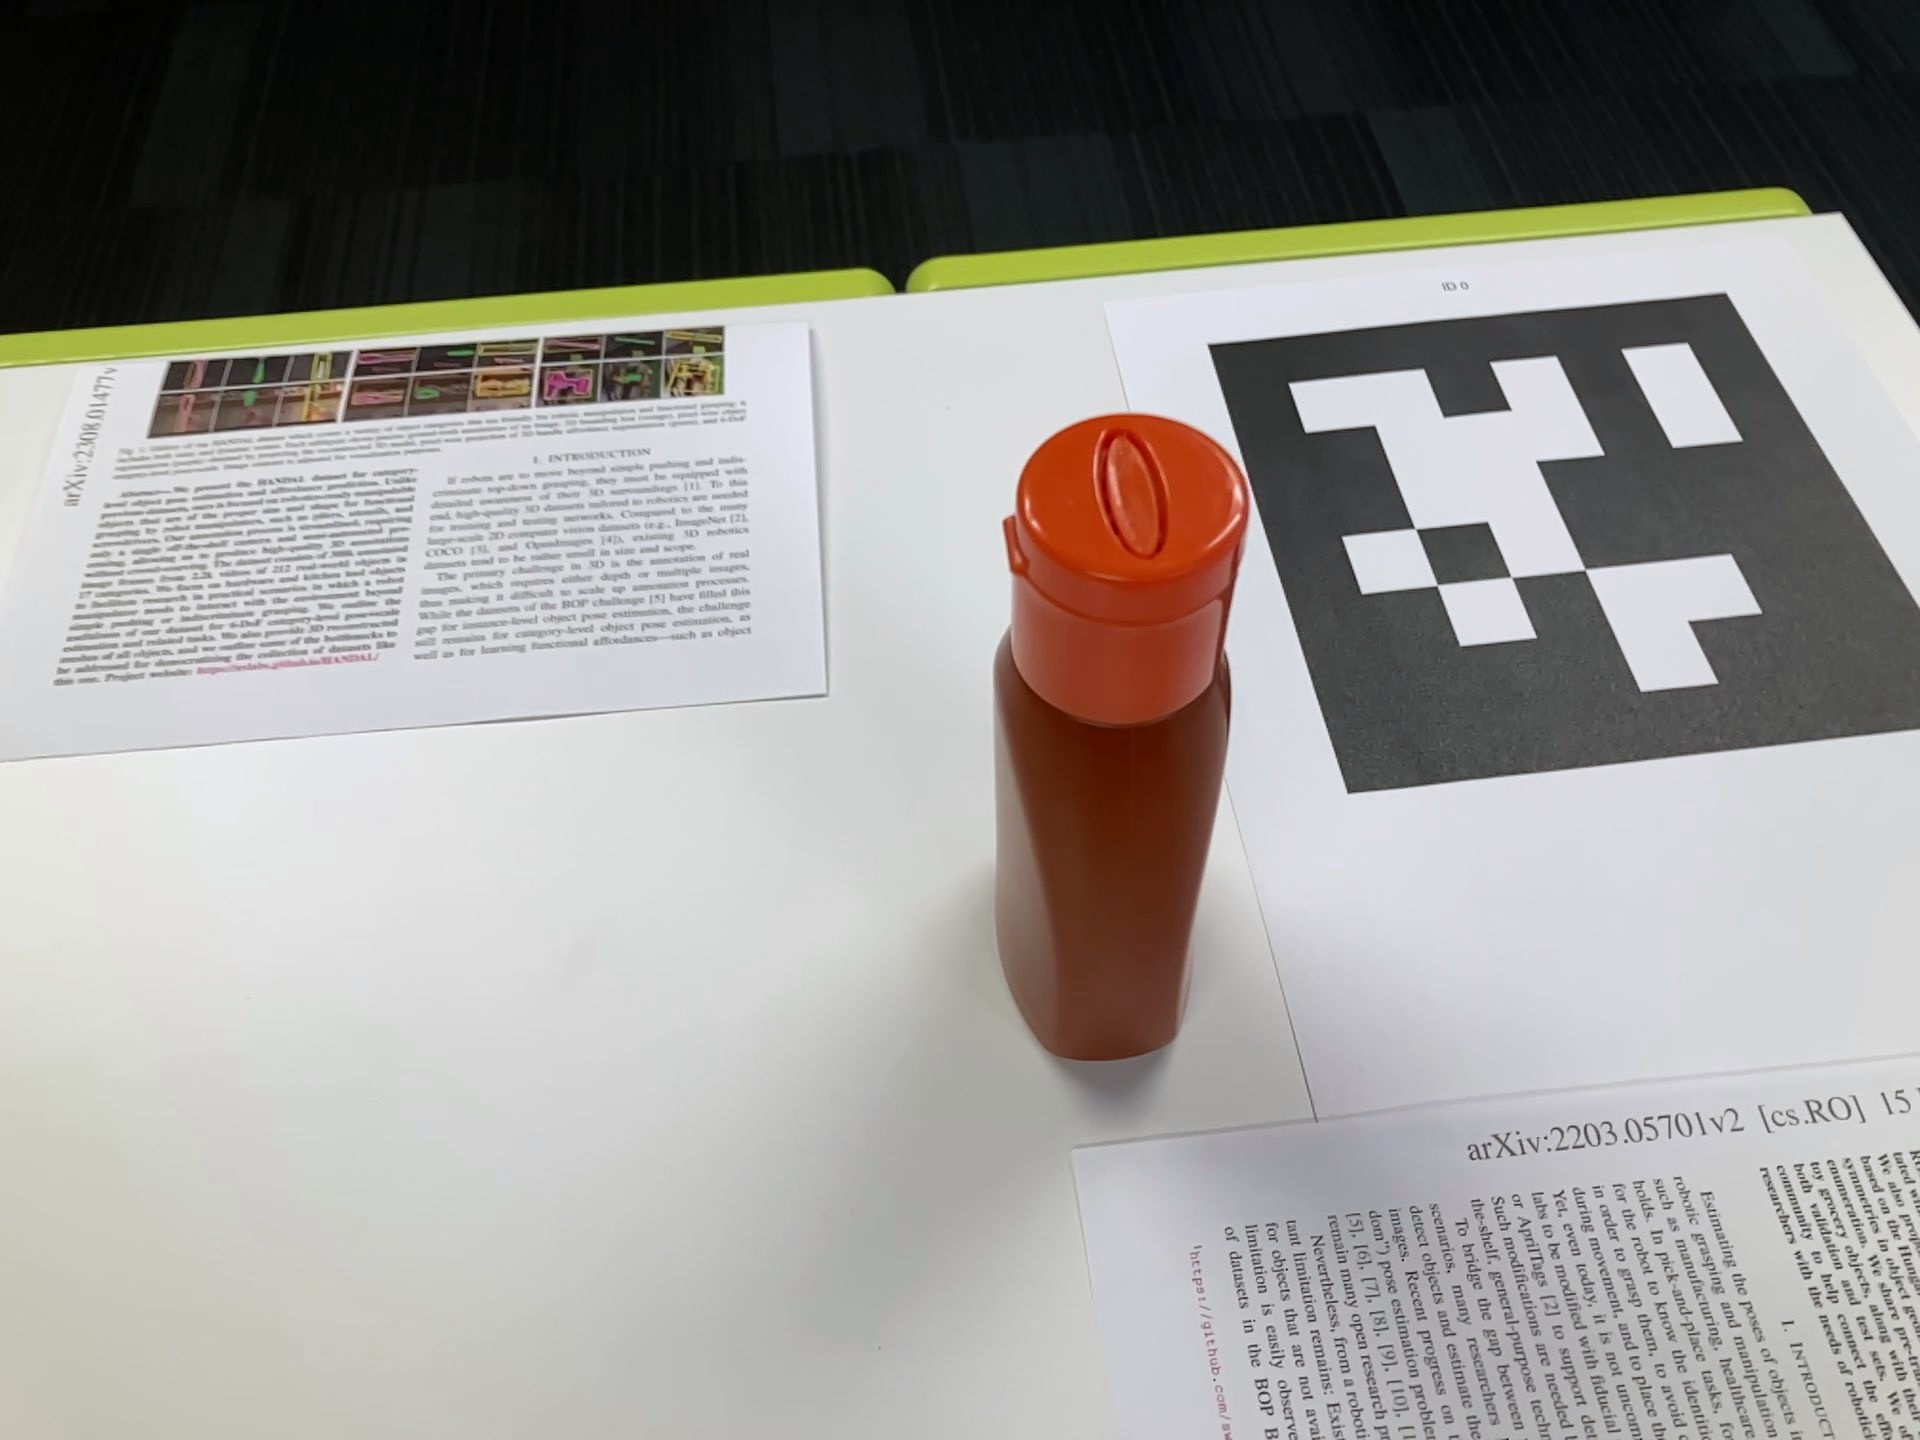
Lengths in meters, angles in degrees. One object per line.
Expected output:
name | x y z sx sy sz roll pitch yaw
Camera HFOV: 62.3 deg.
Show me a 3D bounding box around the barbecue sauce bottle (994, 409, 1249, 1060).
barbecue sauce bottle | 0.028 0.007 0.304 0.043 0.148 0.065 -5 54 -1
